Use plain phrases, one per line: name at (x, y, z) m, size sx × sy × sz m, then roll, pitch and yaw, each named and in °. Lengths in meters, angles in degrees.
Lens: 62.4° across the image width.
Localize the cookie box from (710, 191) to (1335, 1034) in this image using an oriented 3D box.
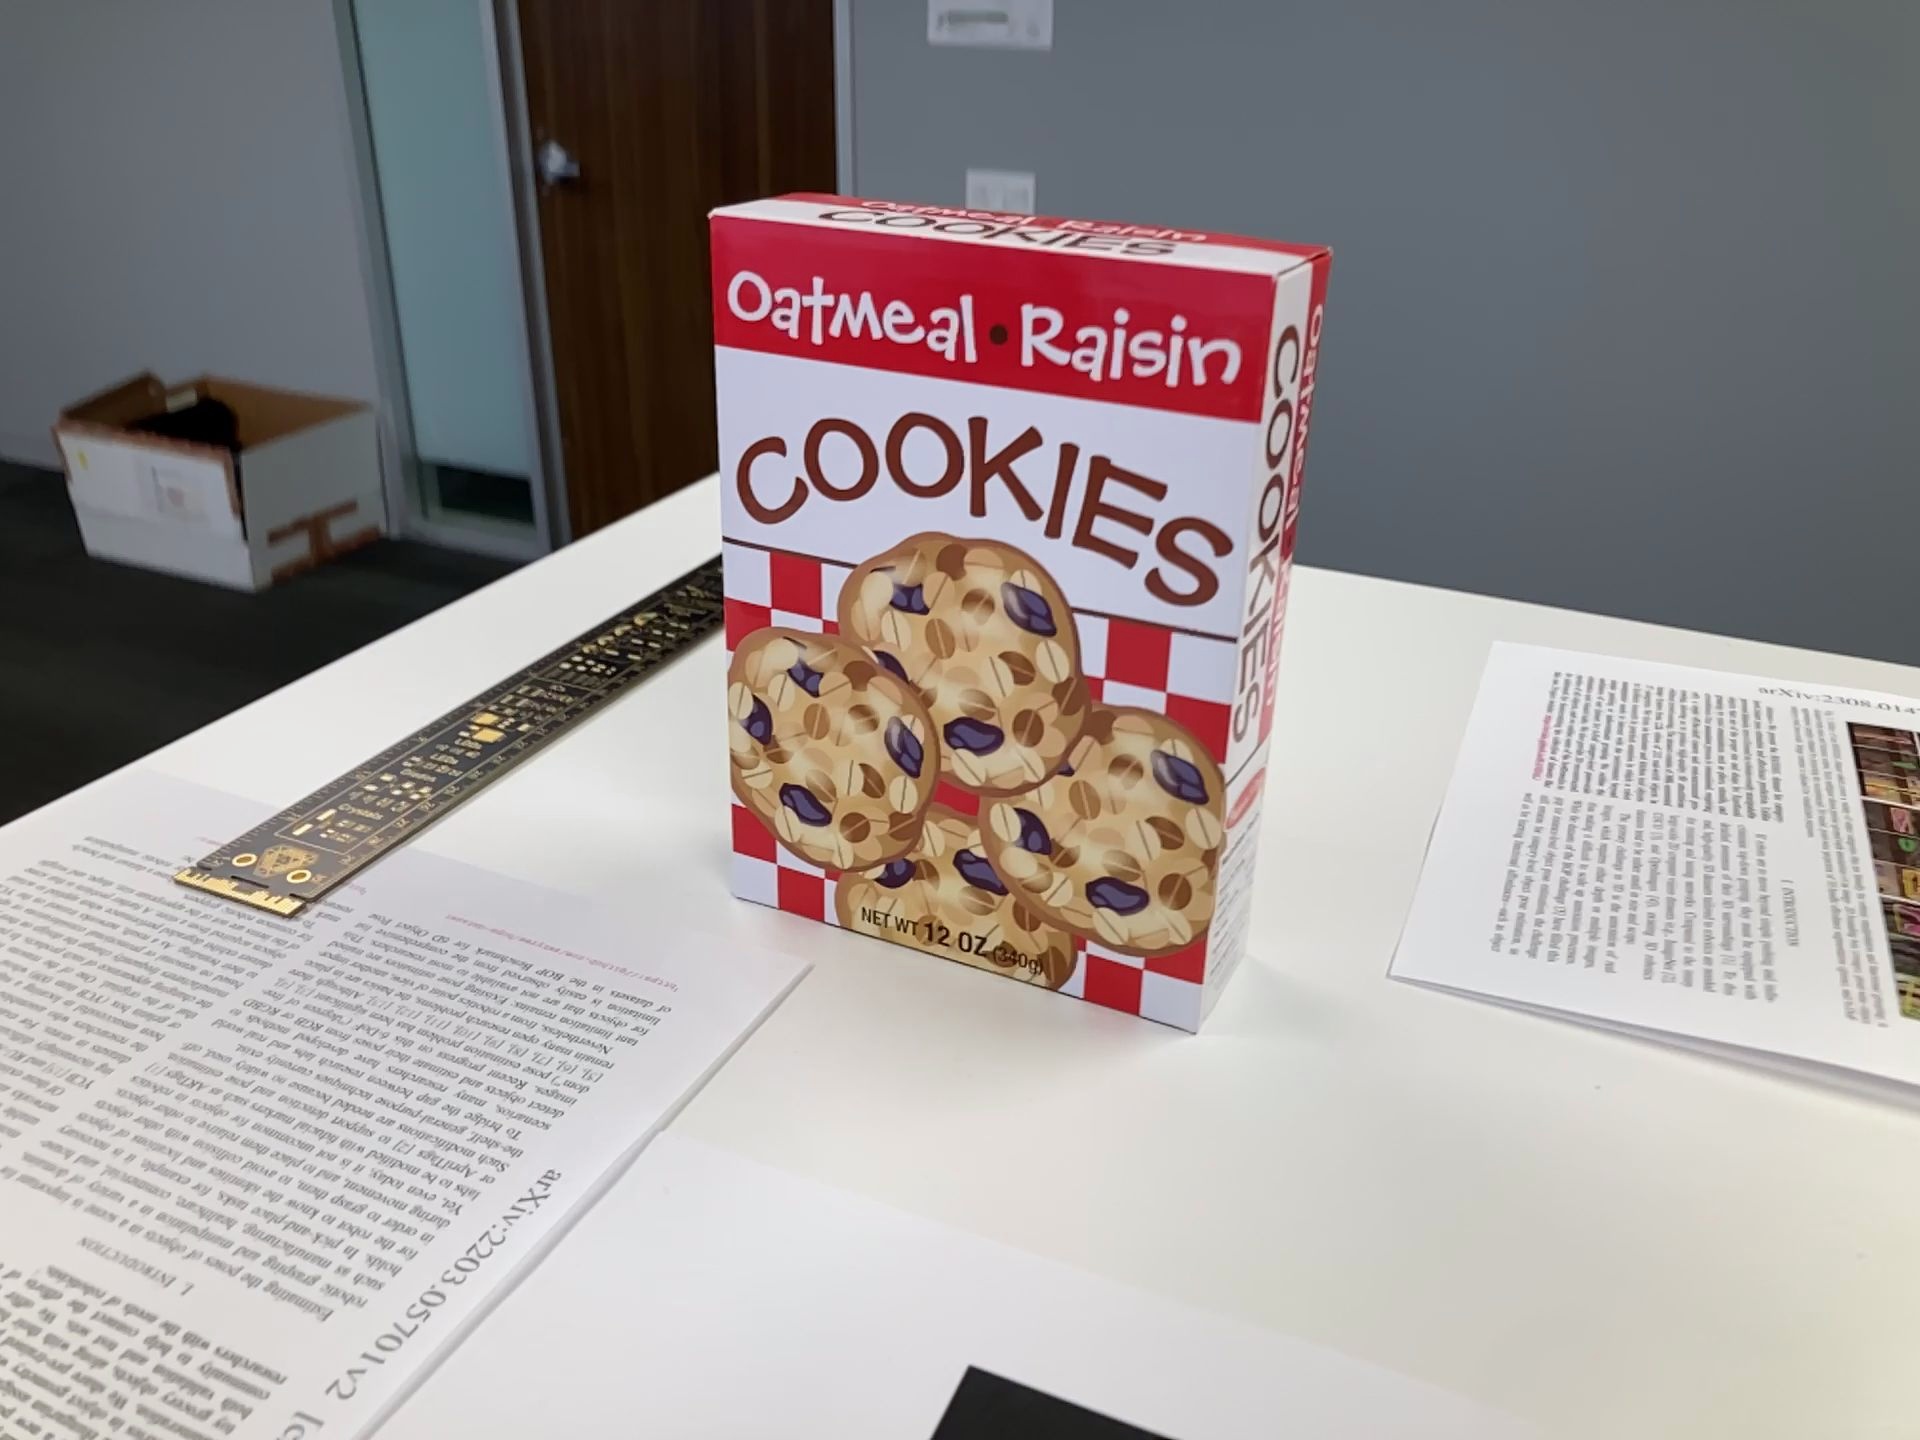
cookie box at (0.009, -0.025, 0.352) m, size 0.123 × 0.167 × 0.040 m, roll 13°, pitch 28°, yaw 23°
